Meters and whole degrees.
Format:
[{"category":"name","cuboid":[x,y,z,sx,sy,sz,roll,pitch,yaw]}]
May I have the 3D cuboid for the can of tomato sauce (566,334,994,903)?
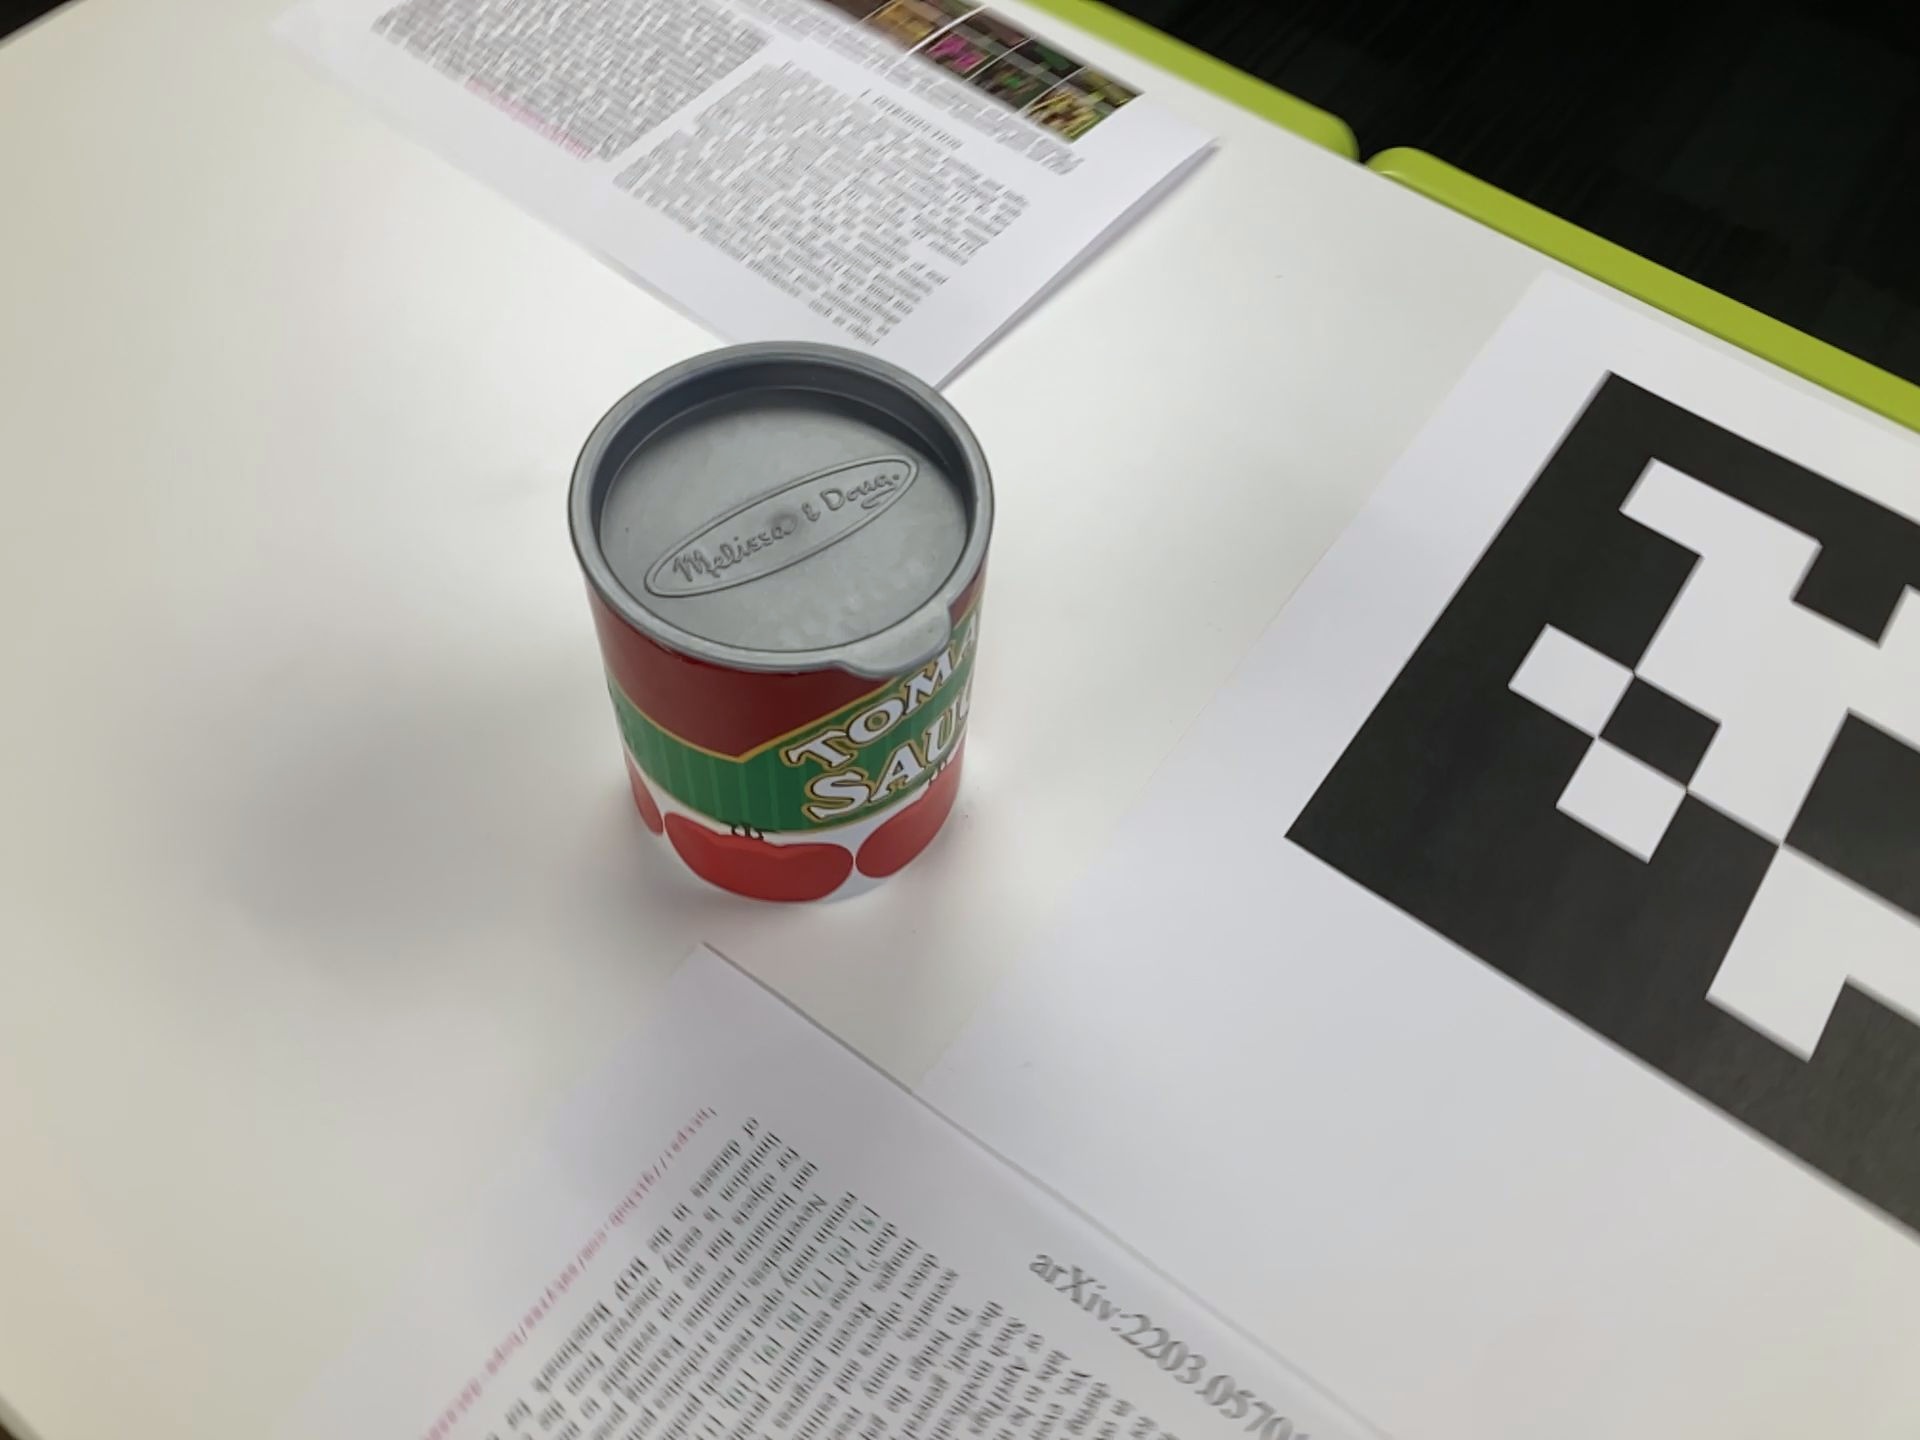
[{"category":"can of tomato sauce","cuboid":[-0.028,-0.013,0.281,0.071,0.083,0.071,2,58,-3]}]
